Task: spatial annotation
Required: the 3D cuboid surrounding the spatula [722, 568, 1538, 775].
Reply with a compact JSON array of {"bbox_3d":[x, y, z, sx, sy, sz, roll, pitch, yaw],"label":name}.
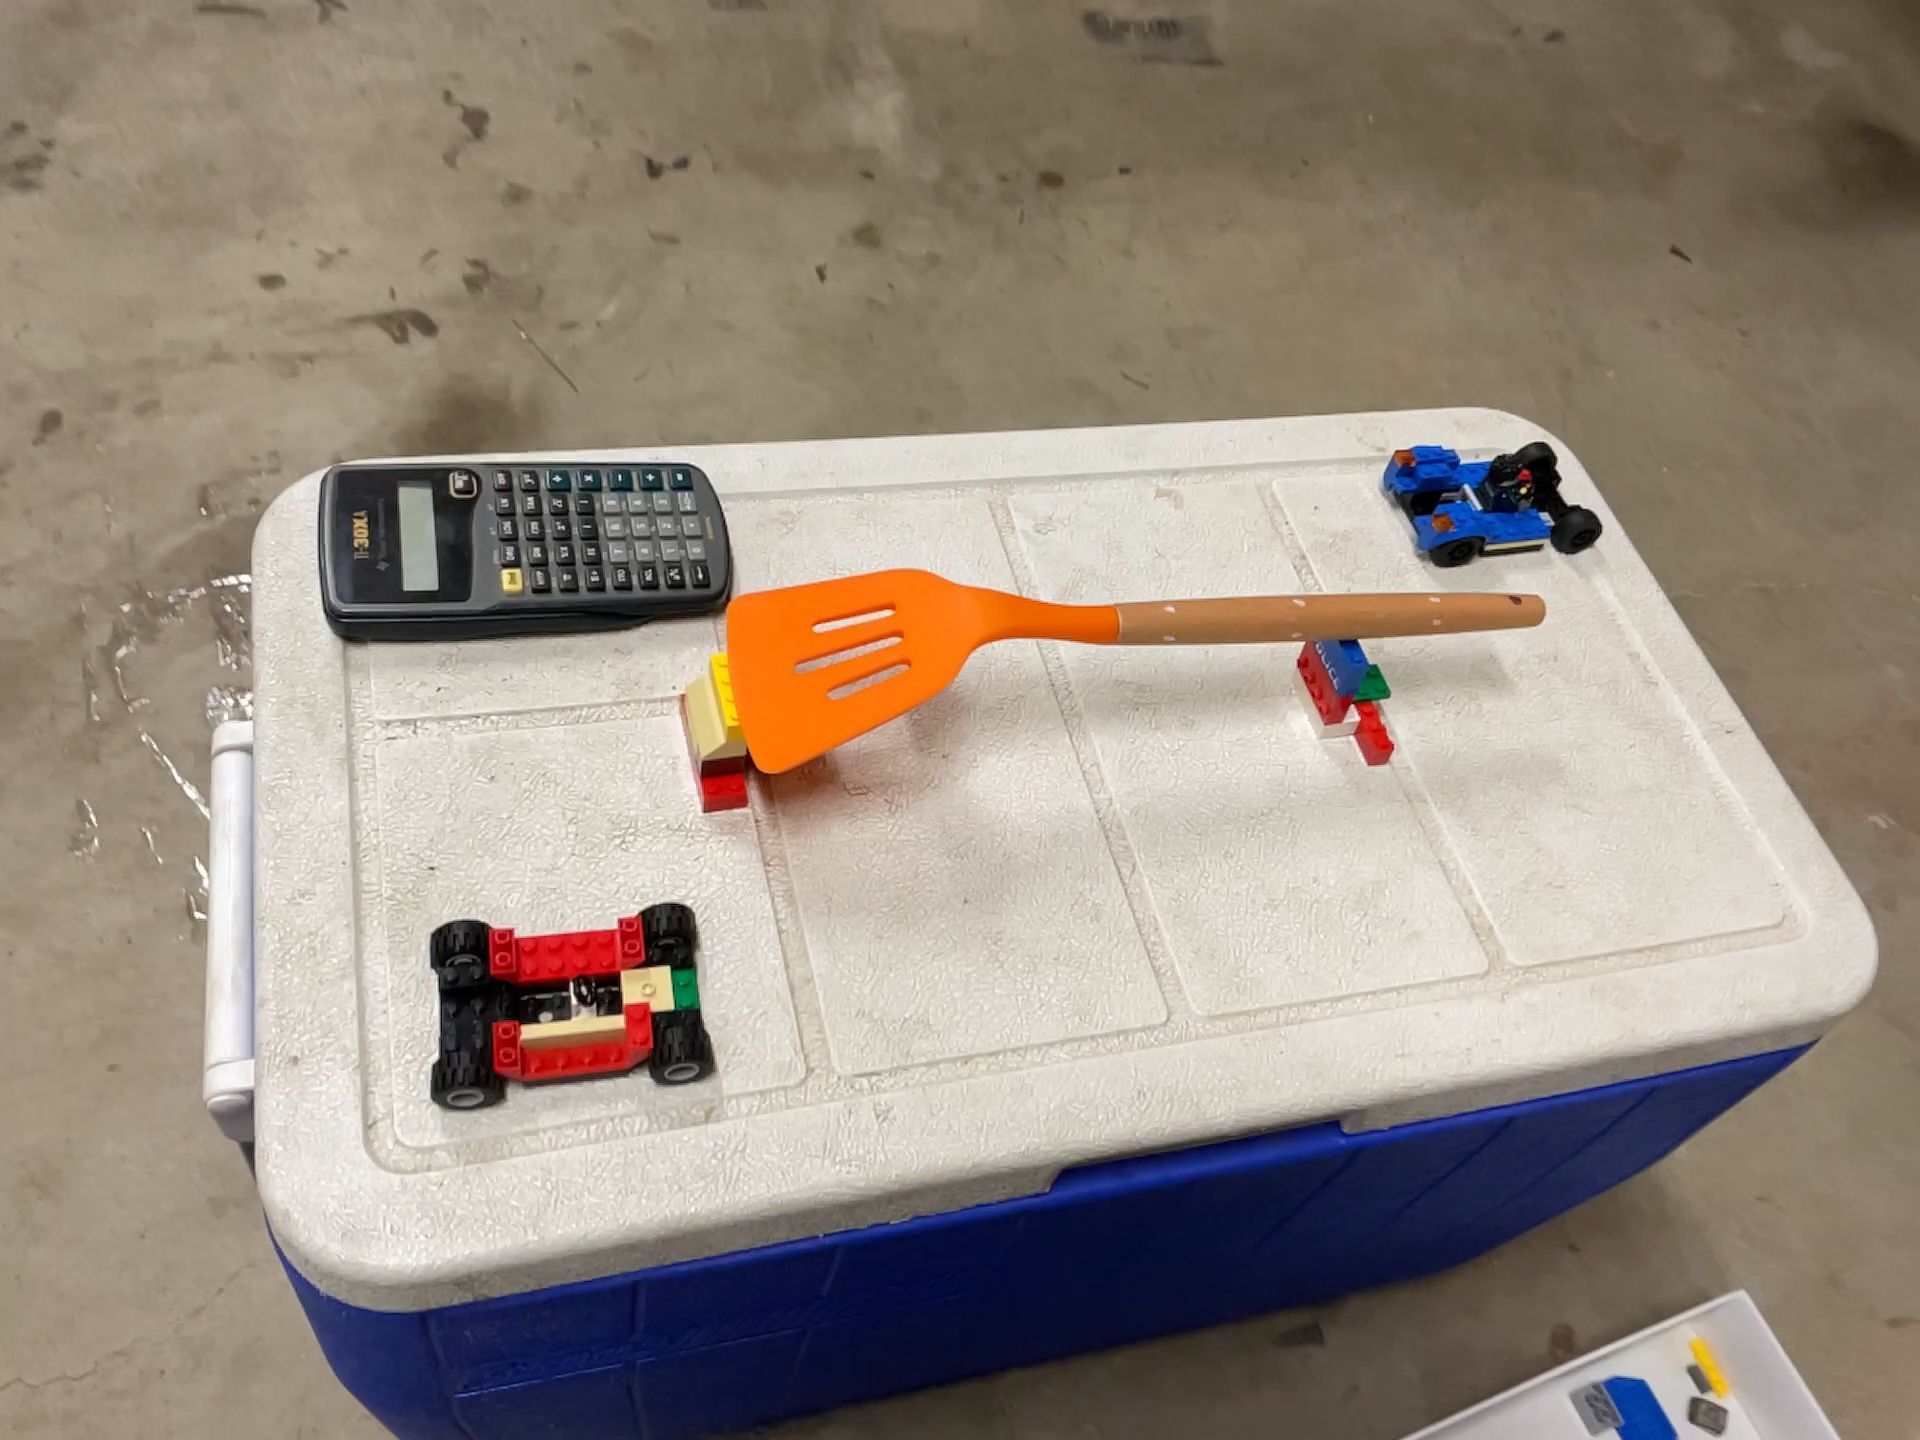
[{"bbox_3d":[0.075,-0.030,0.599,0.322,0.041,0.081,-3,53,-19],"label":"spatula"}]
